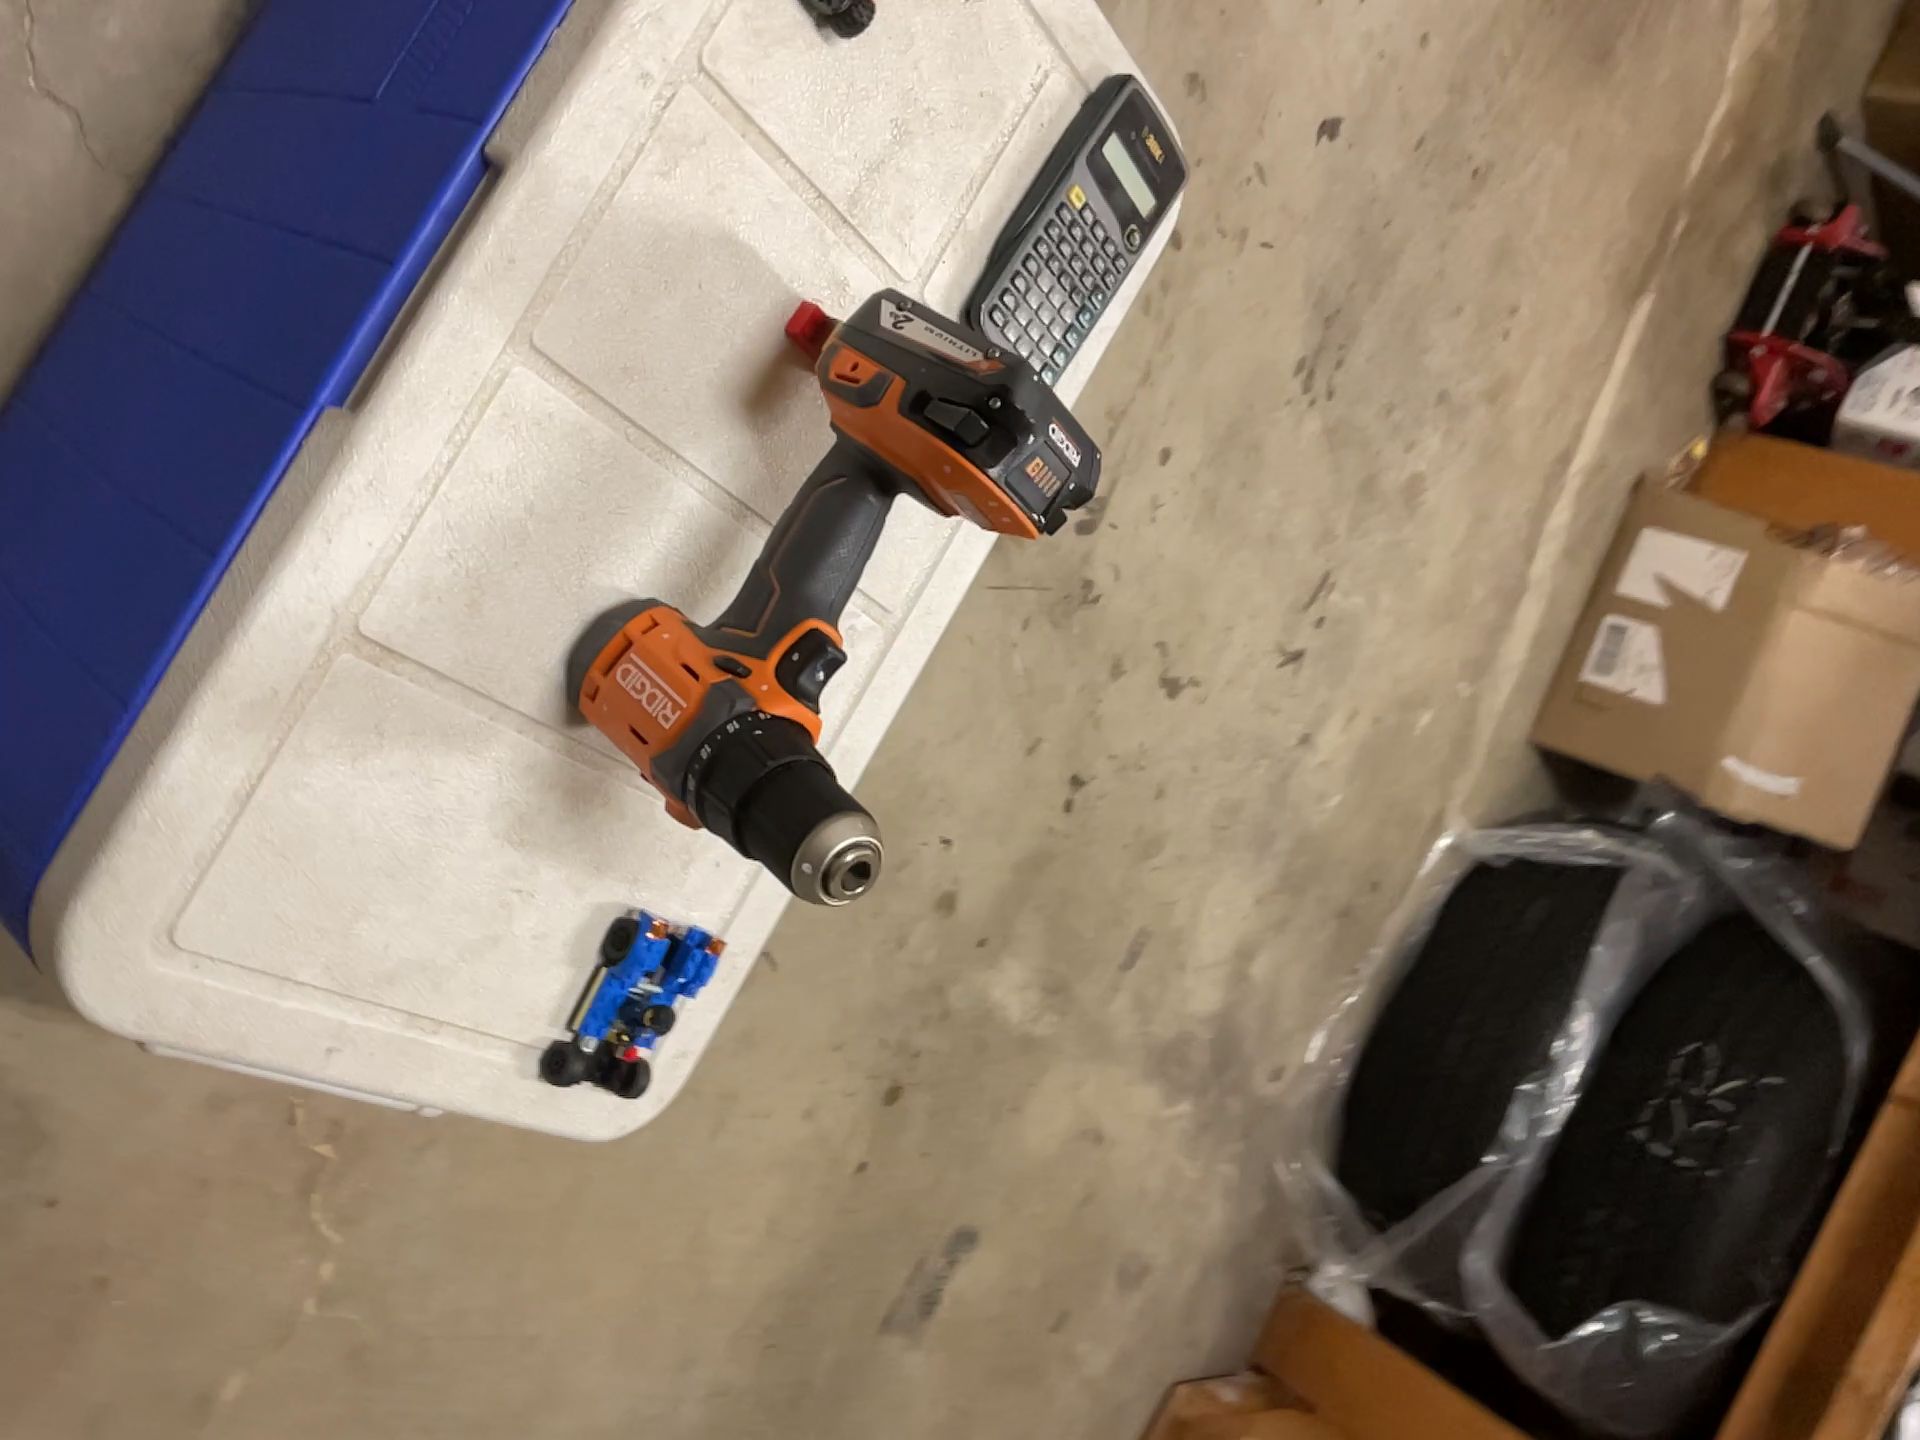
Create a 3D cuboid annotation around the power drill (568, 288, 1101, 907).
[{"bbox_3d":[-0.043,-0.048,0.646,0.226,0.185,0.084,-51,139,-1],"label":"power drill"}]
